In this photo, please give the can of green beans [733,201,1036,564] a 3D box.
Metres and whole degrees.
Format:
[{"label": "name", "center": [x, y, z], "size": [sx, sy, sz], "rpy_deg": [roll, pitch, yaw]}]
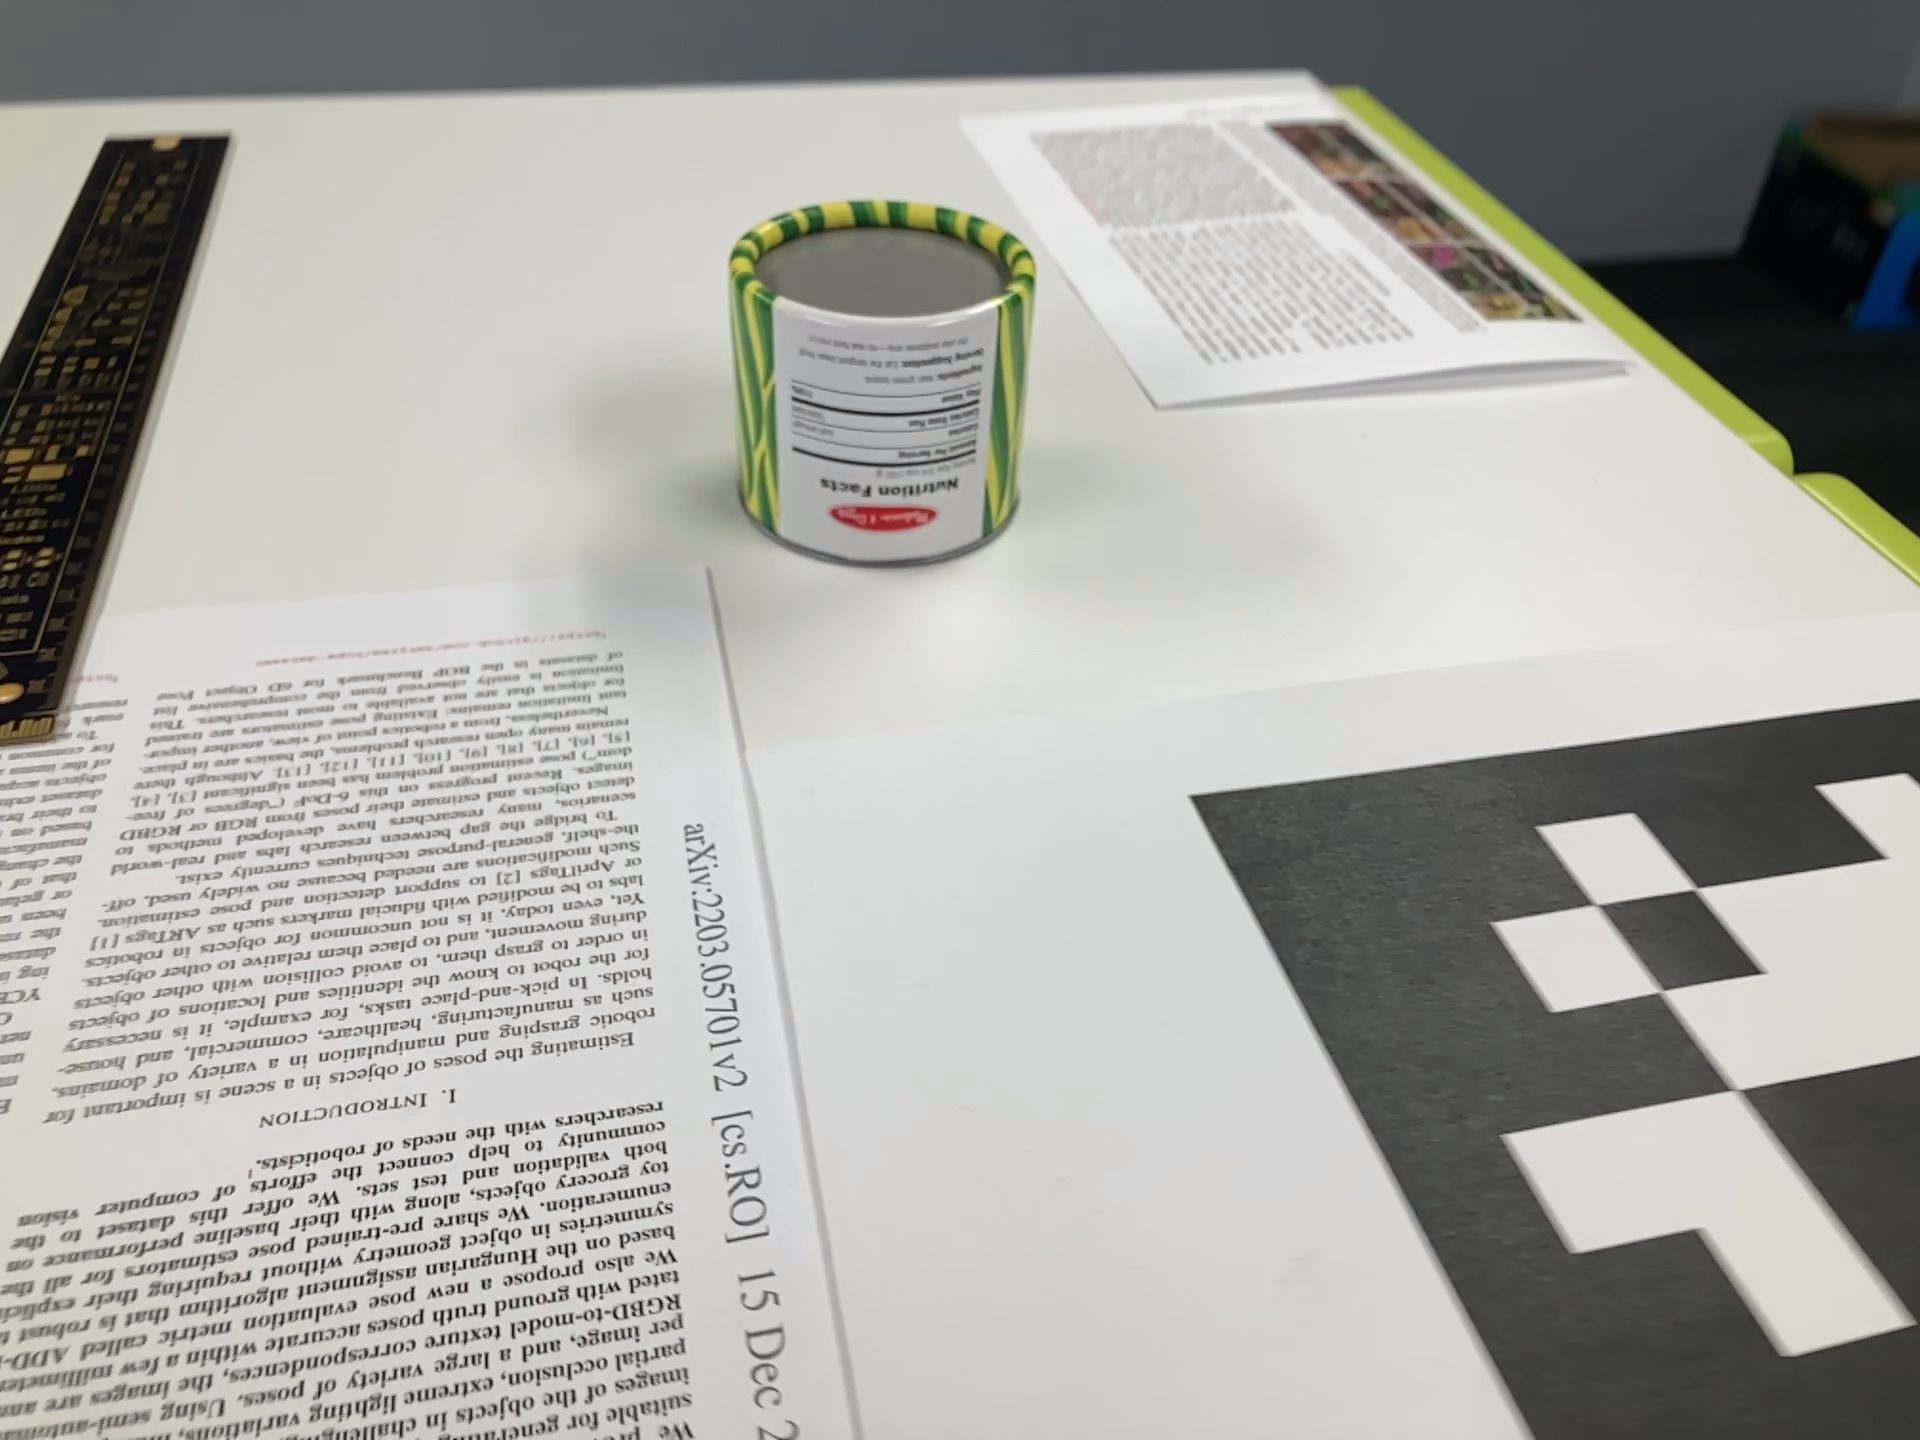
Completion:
[{"label": "can of green beans", "center": [-0.017, -0.077, 0.362], "size": [0.071, 0.058, 0.071], "rpy_deg": [2, 39, -1]}]
